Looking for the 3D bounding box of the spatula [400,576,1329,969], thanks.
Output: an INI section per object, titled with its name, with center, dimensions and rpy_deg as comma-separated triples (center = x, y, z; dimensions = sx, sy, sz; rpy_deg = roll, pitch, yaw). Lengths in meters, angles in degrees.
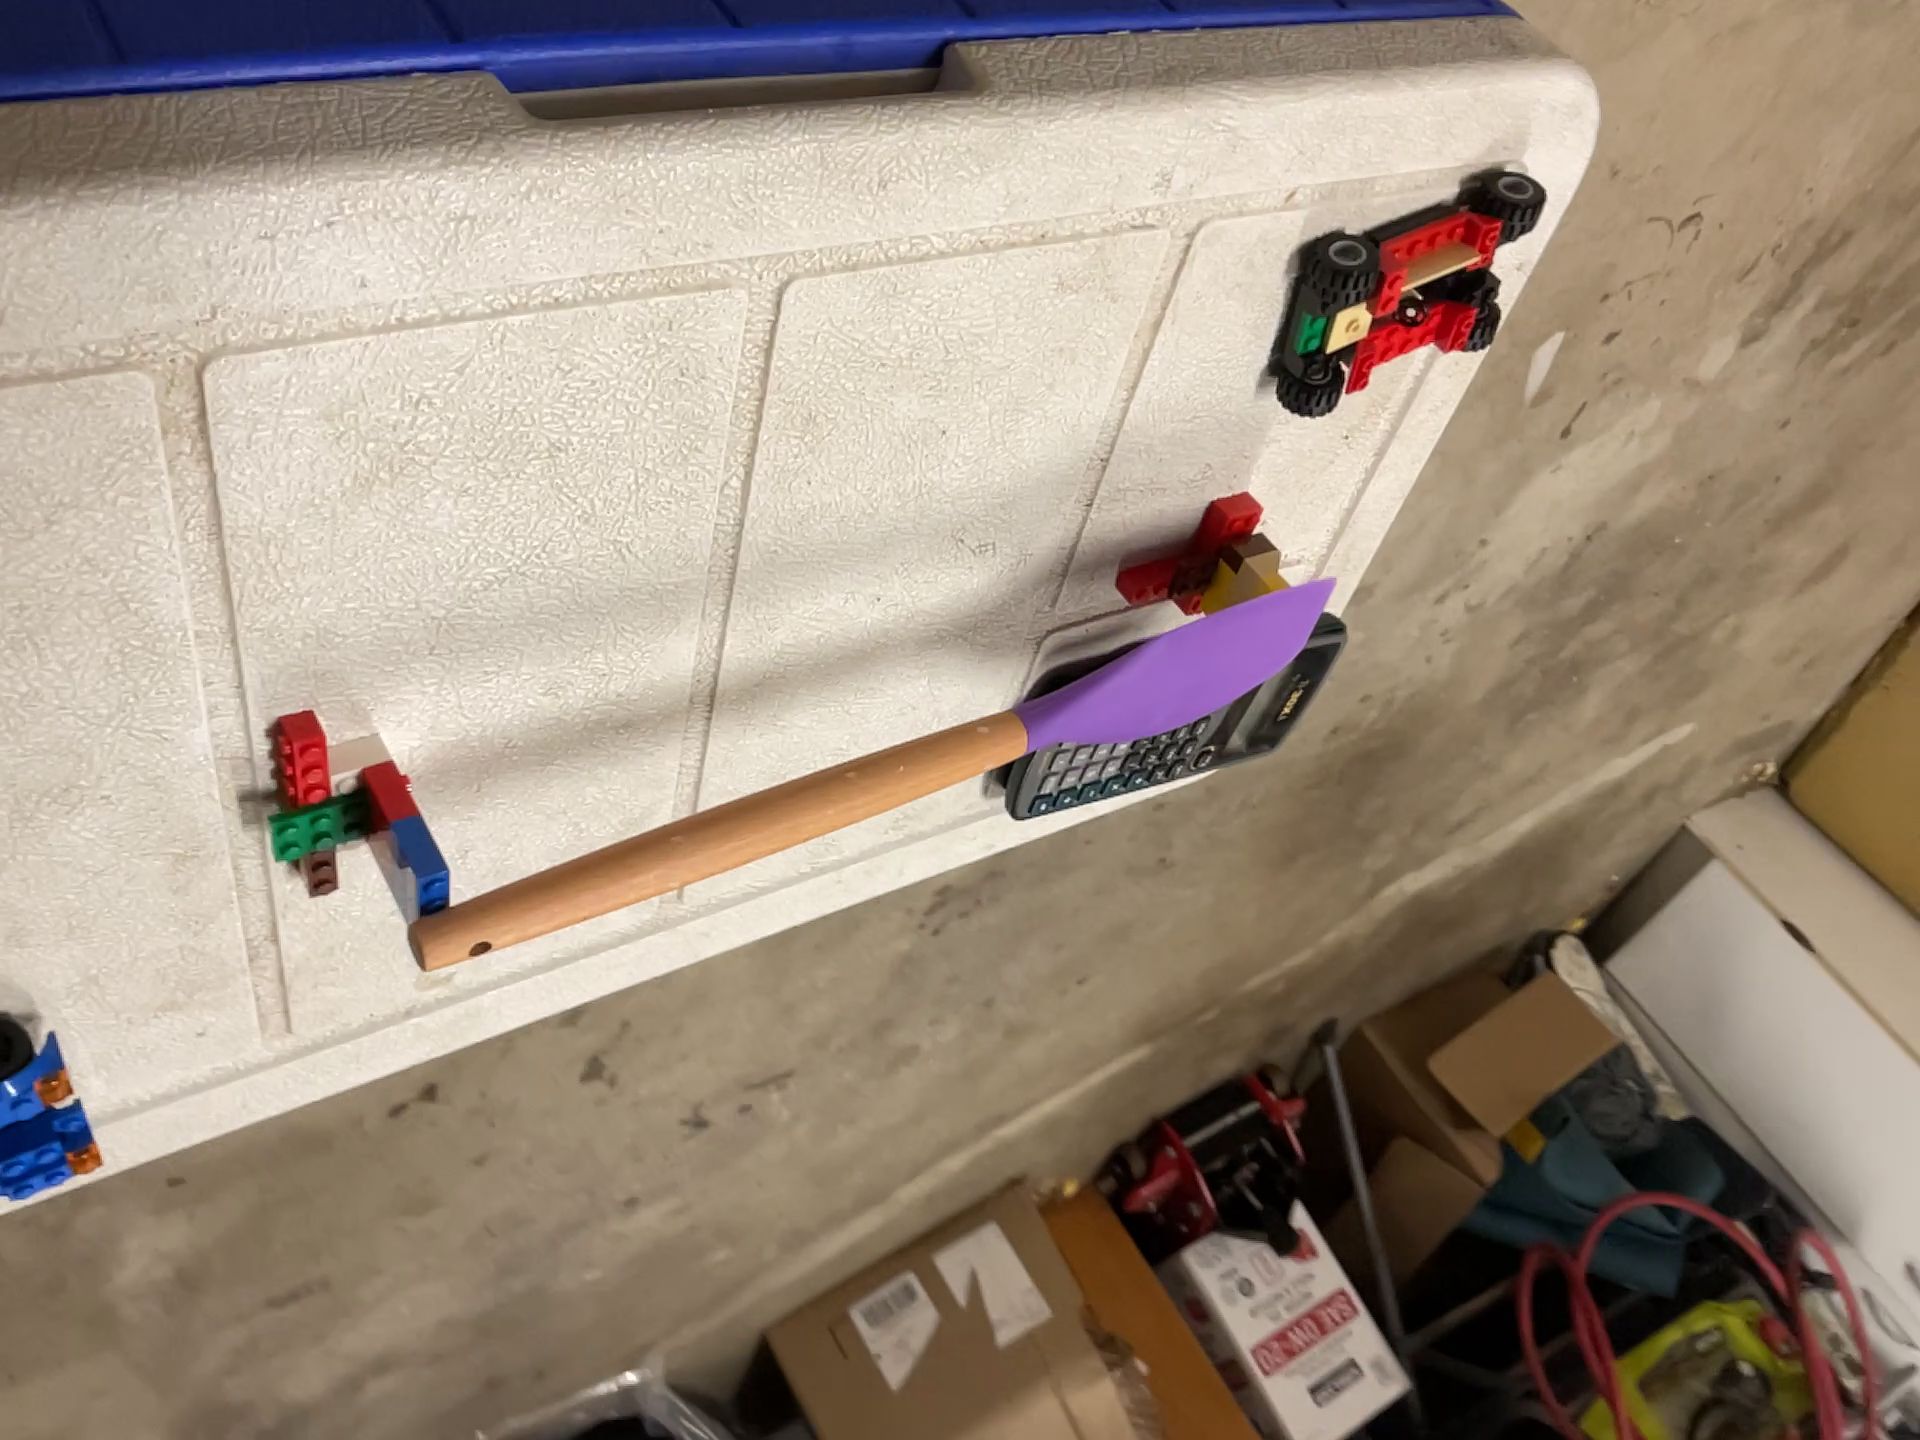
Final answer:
[spatula]
center = -0.008, 0.013, 0.475
dimensions = 0.316, 0.018, 0.059
rpy_deg = -19, 145, -31
